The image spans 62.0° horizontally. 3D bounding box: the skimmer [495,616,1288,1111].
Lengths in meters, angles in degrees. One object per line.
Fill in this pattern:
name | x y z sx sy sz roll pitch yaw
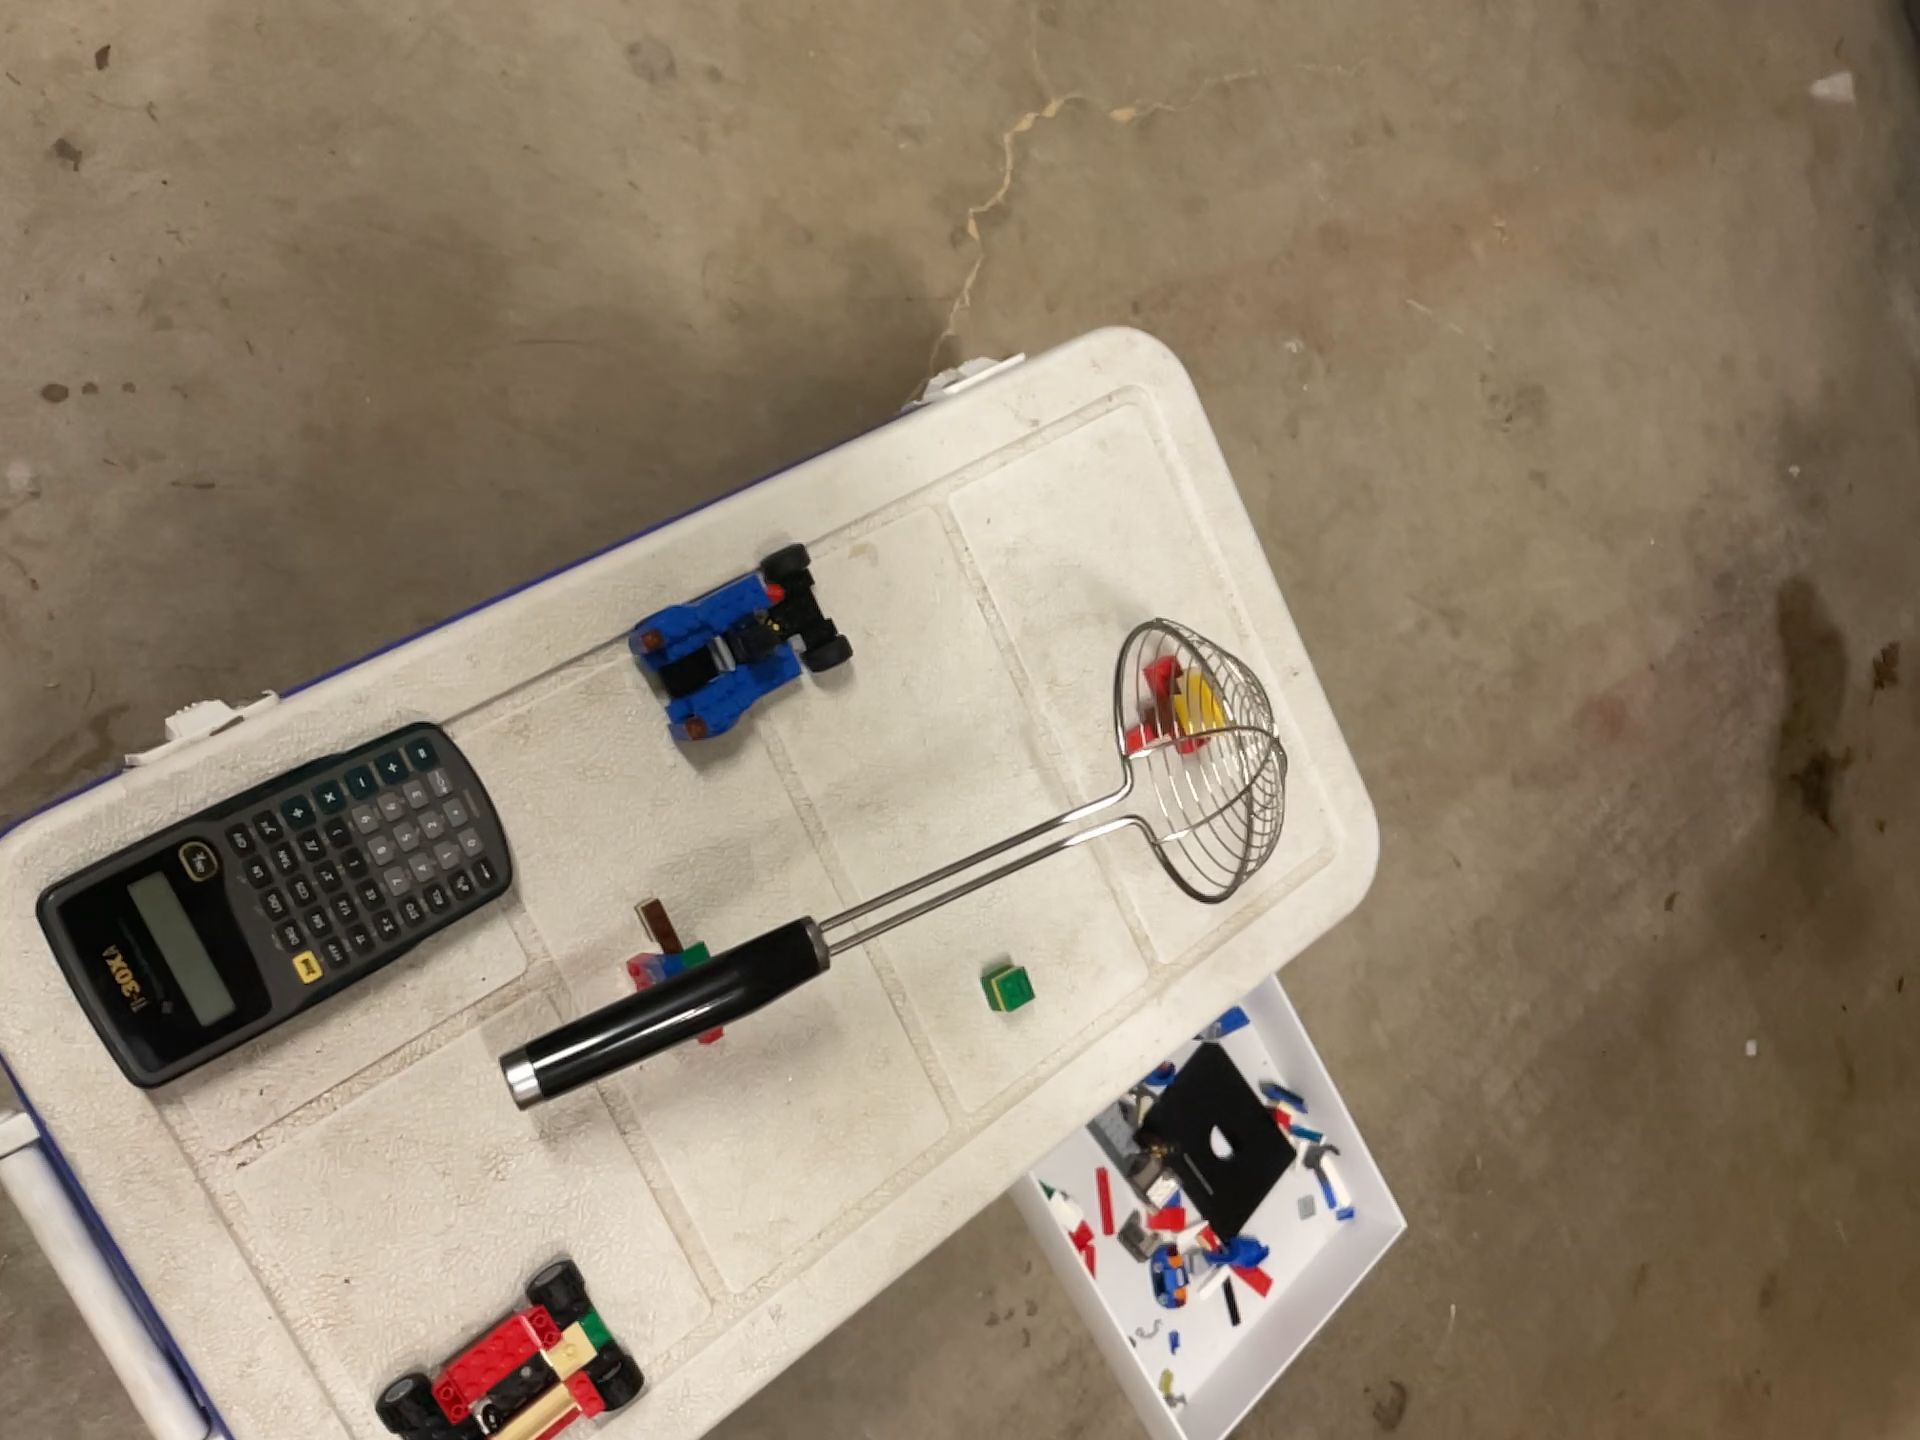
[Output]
skimmer | -0.013 0.064 0.655 0.363 0.090 0.127 -23 98 -19
